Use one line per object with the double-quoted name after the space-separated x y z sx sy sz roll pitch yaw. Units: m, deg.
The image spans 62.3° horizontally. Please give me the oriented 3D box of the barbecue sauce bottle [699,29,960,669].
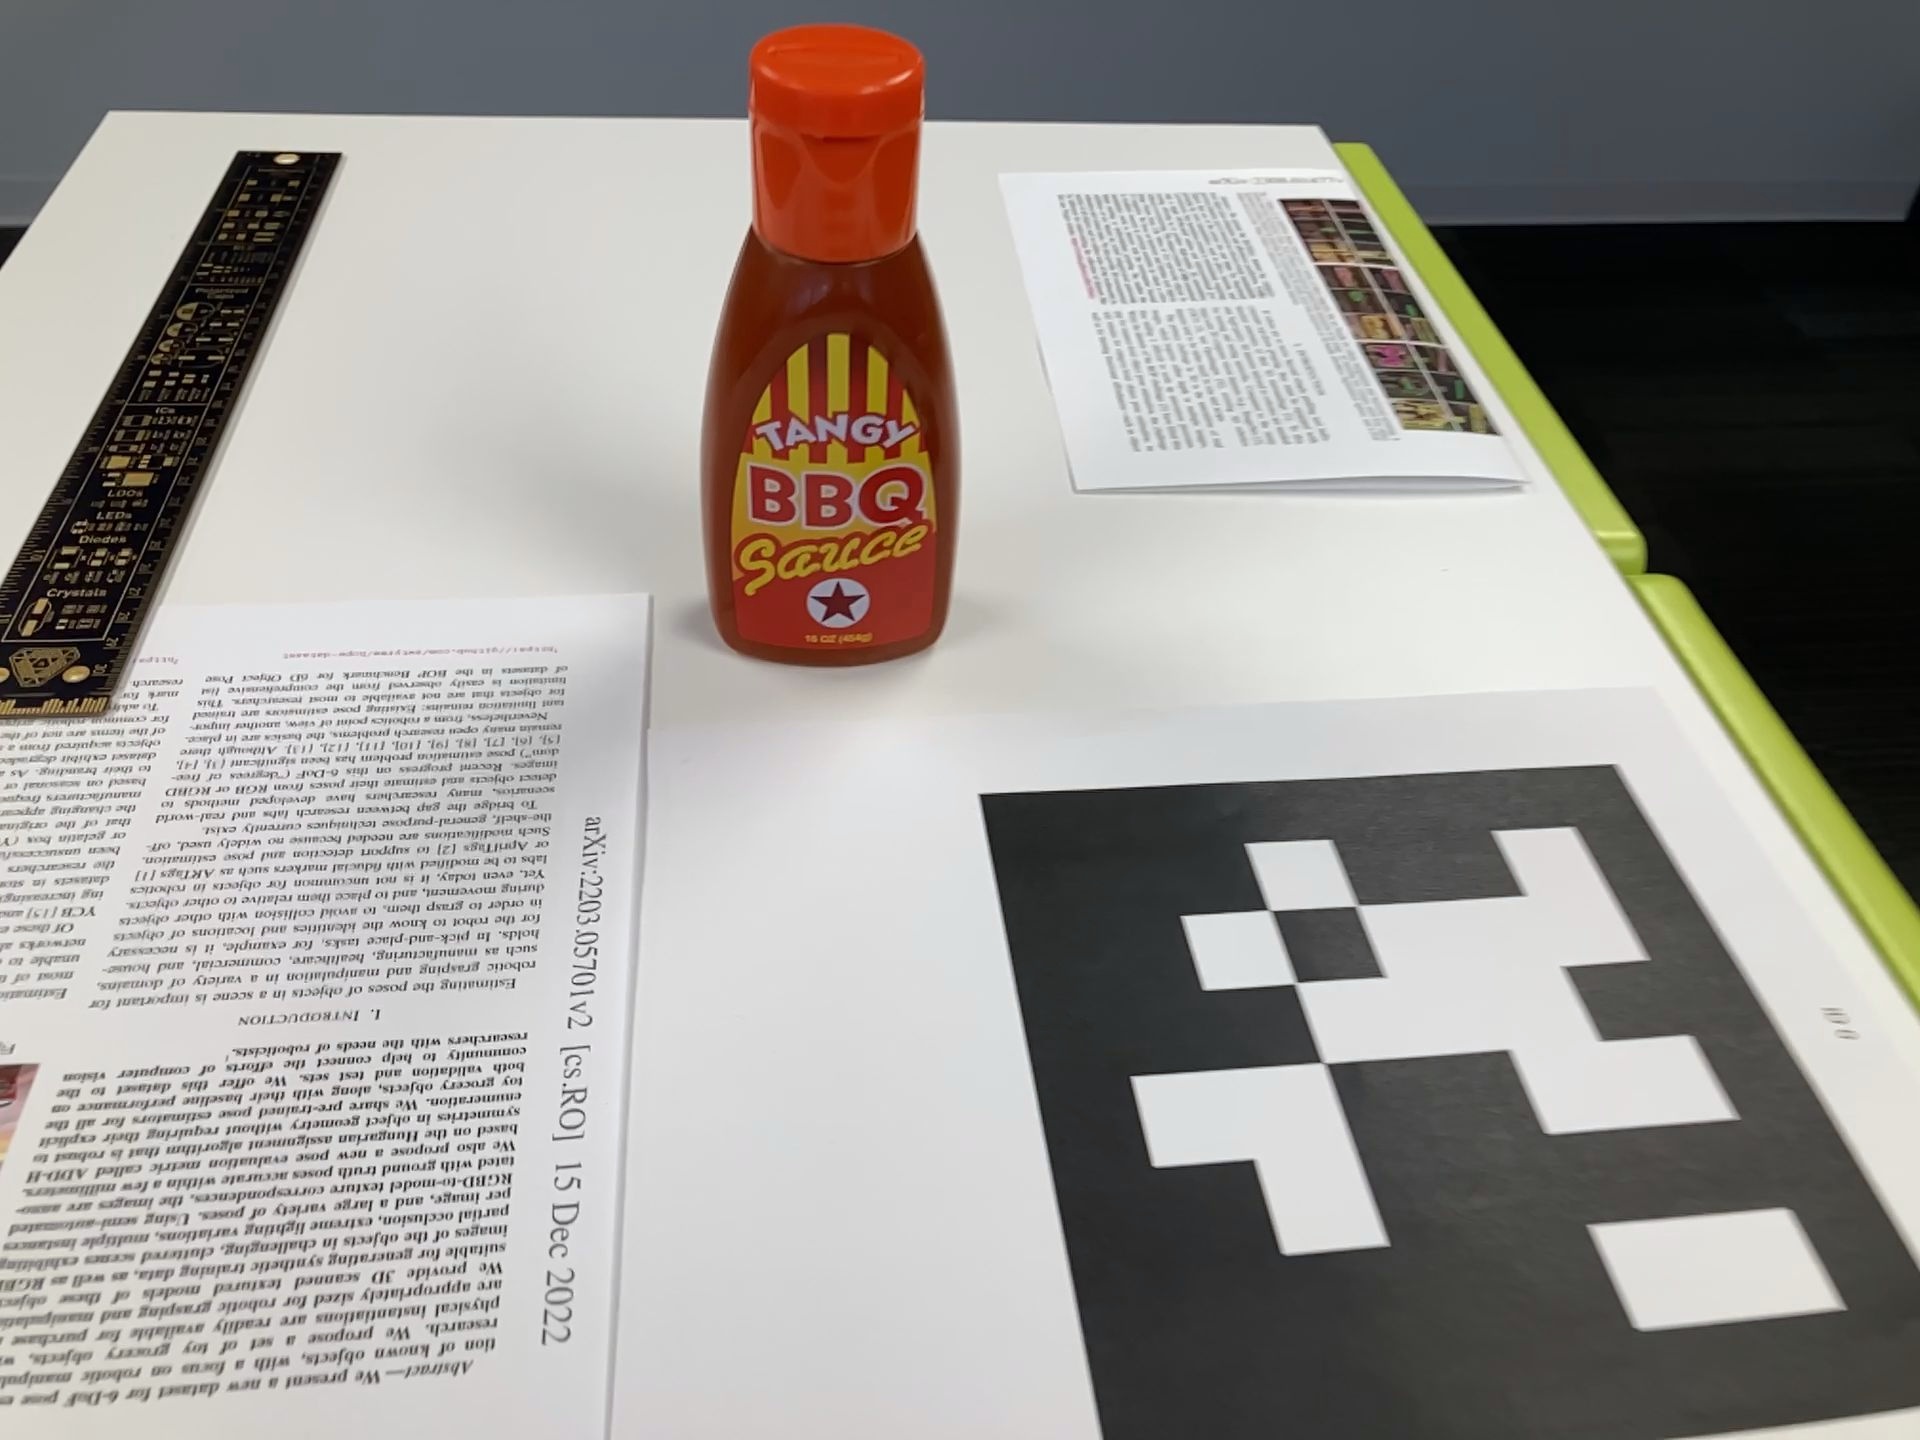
-0.031 -0.081 0.375 0.065 0.148 0.043 -1 42 -7 "barbecue sauce bottle"
